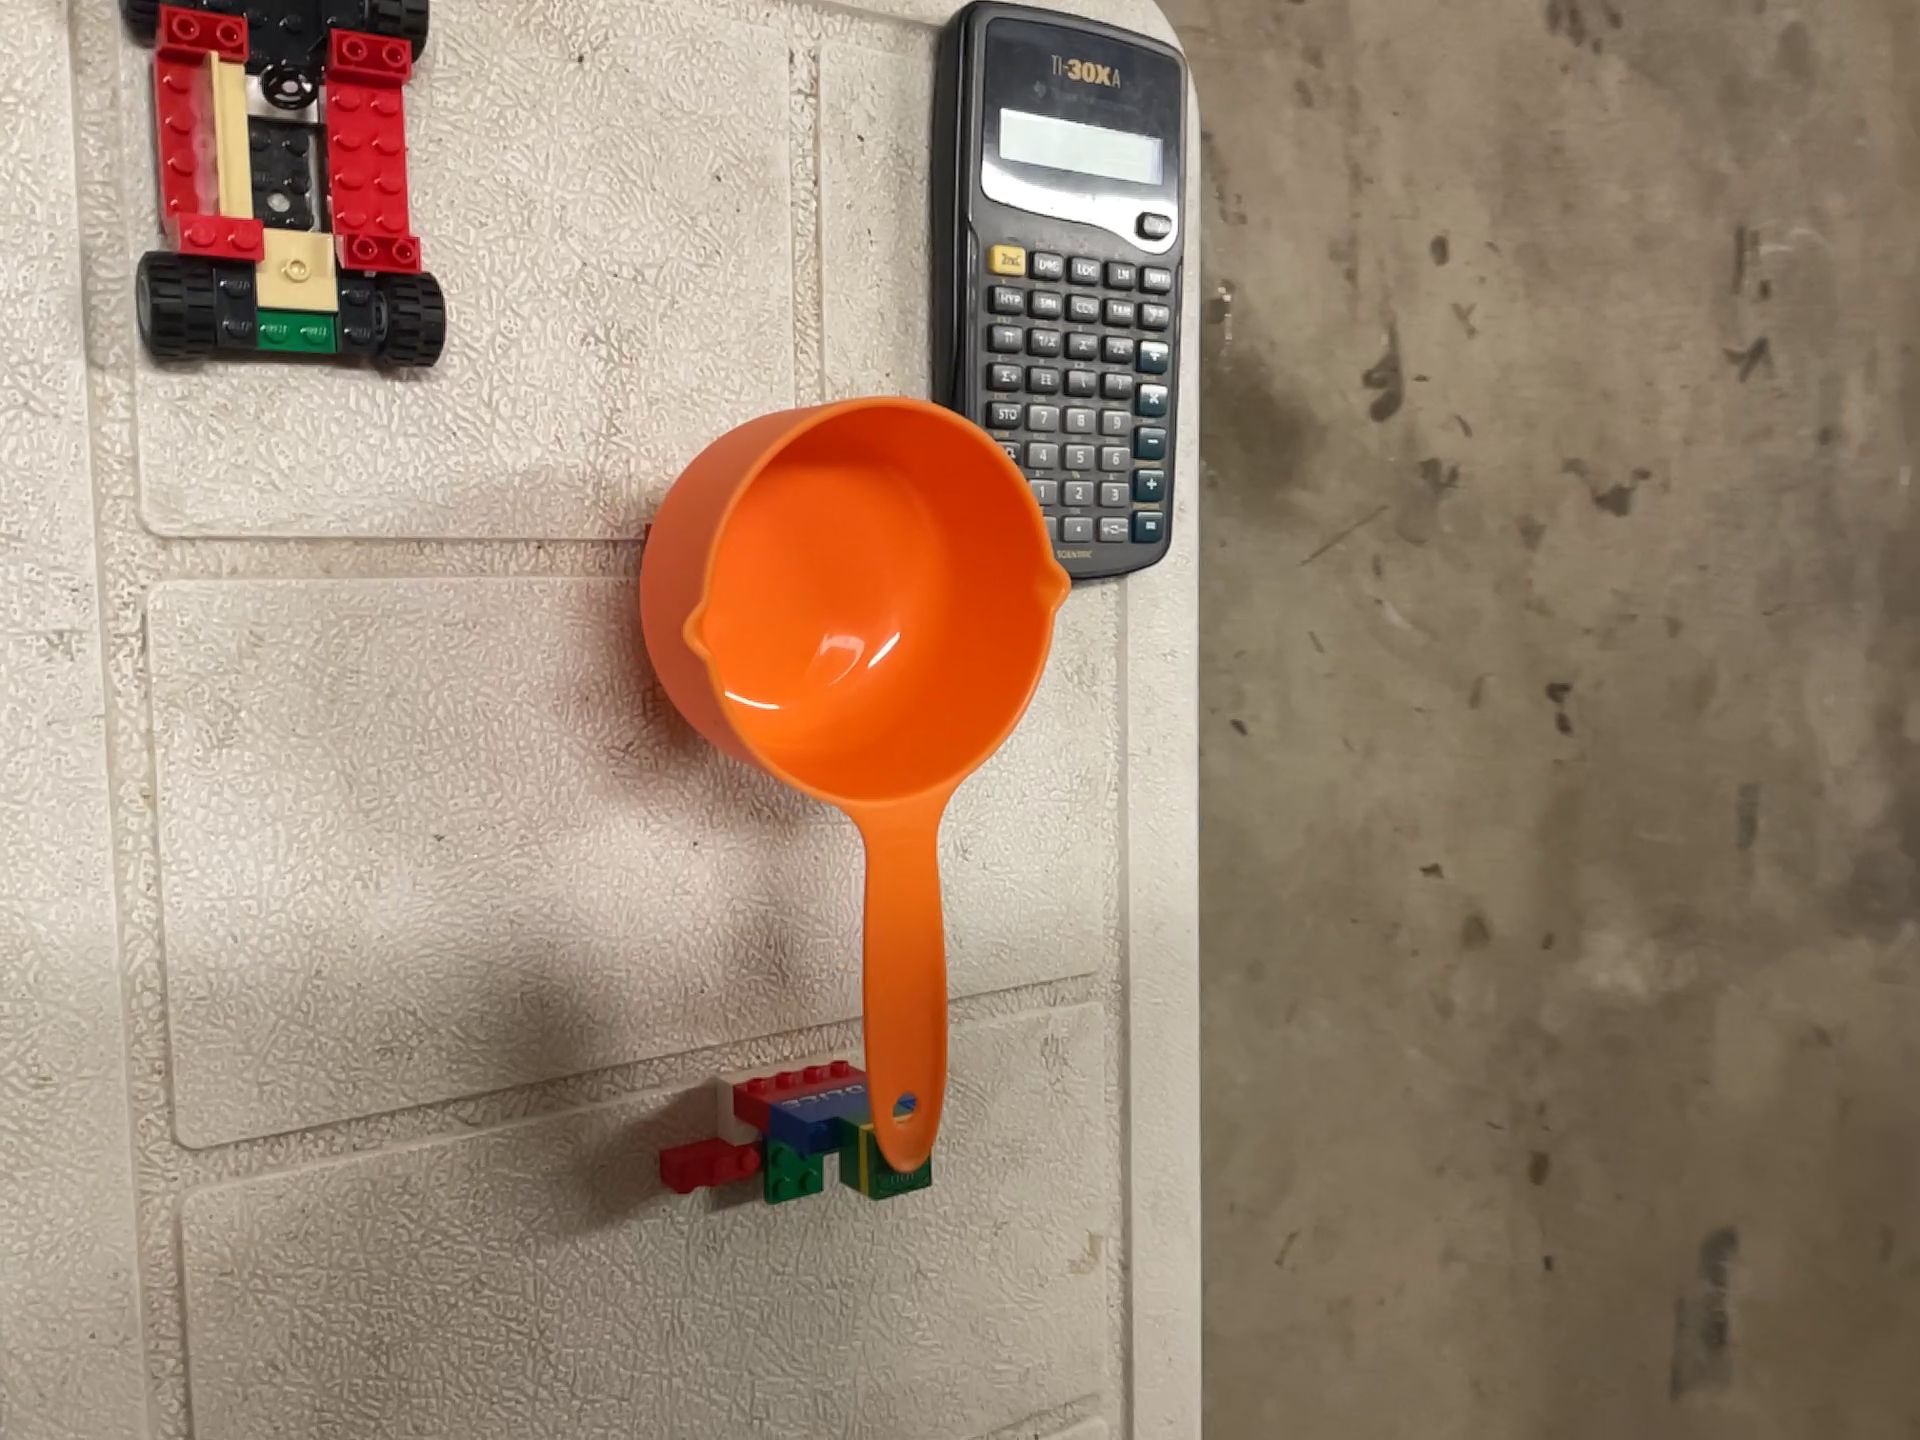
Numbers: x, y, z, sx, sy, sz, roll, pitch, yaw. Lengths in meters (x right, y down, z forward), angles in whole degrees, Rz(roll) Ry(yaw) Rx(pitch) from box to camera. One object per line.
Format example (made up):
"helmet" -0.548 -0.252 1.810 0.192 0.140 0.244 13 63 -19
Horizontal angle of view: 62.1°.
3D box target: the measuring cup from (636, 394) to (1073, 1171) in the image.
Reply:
"measuring cup" -0.026 0.014 0.364 0.095 0.052 0.173 -10 105 -33
